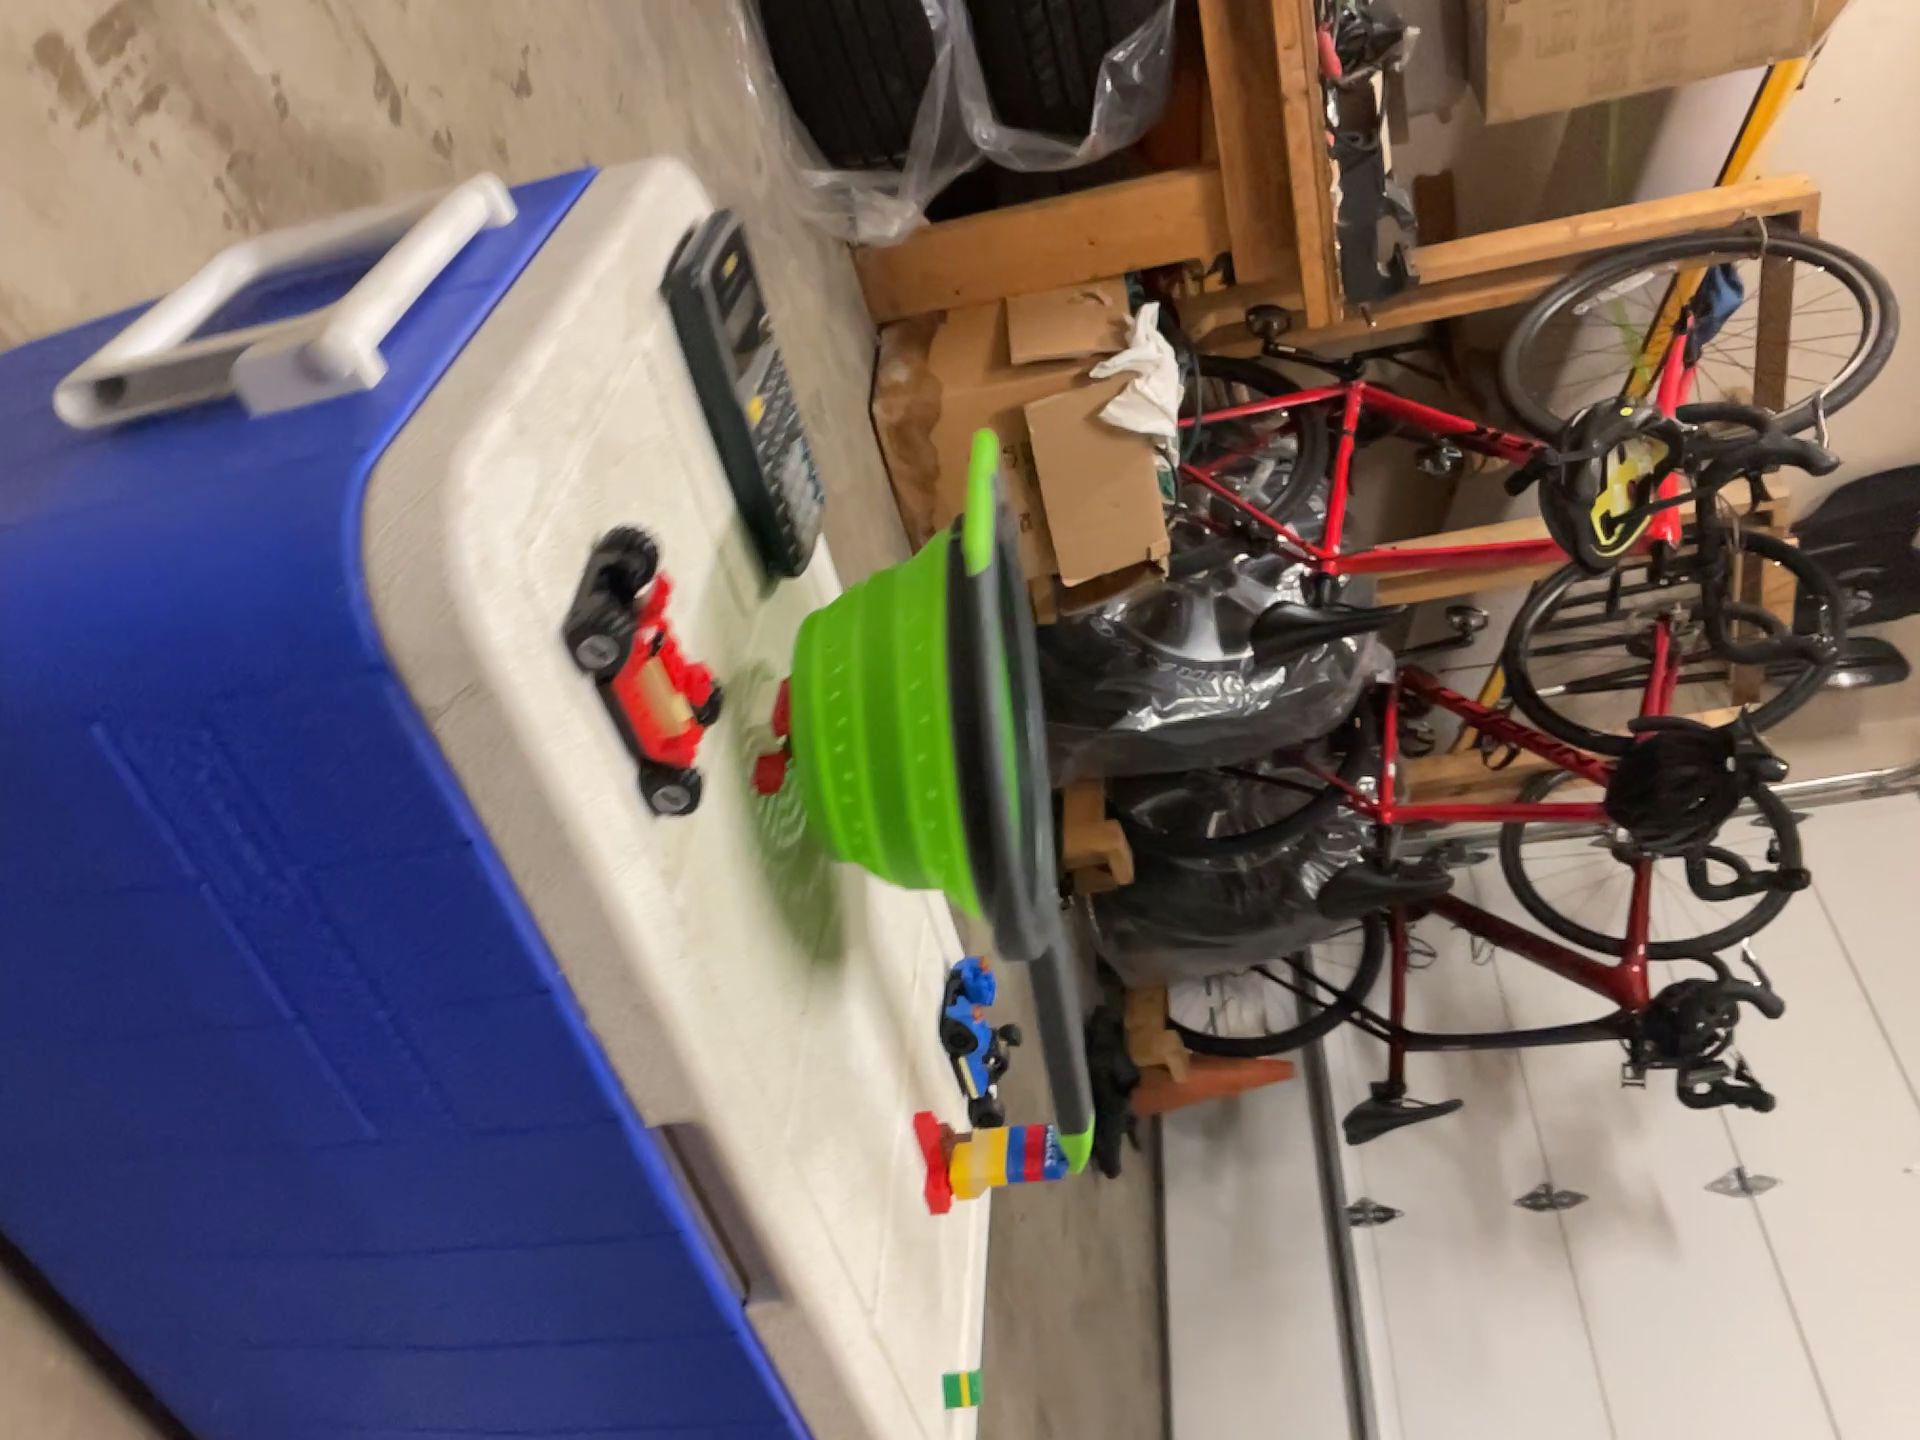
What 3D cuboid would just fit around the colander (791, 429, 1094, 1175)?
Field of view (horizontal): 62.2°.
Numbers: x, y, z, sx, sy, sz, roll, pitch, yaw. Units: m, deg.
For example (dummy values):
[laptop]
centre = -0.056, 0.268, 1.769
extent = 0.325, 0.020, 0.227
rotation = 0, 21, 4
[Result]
[colander]
centre = -0.004, 0.070, 0.727
extent = 0.205, 0.094, 0.396
rotation = -87, 169, -55
